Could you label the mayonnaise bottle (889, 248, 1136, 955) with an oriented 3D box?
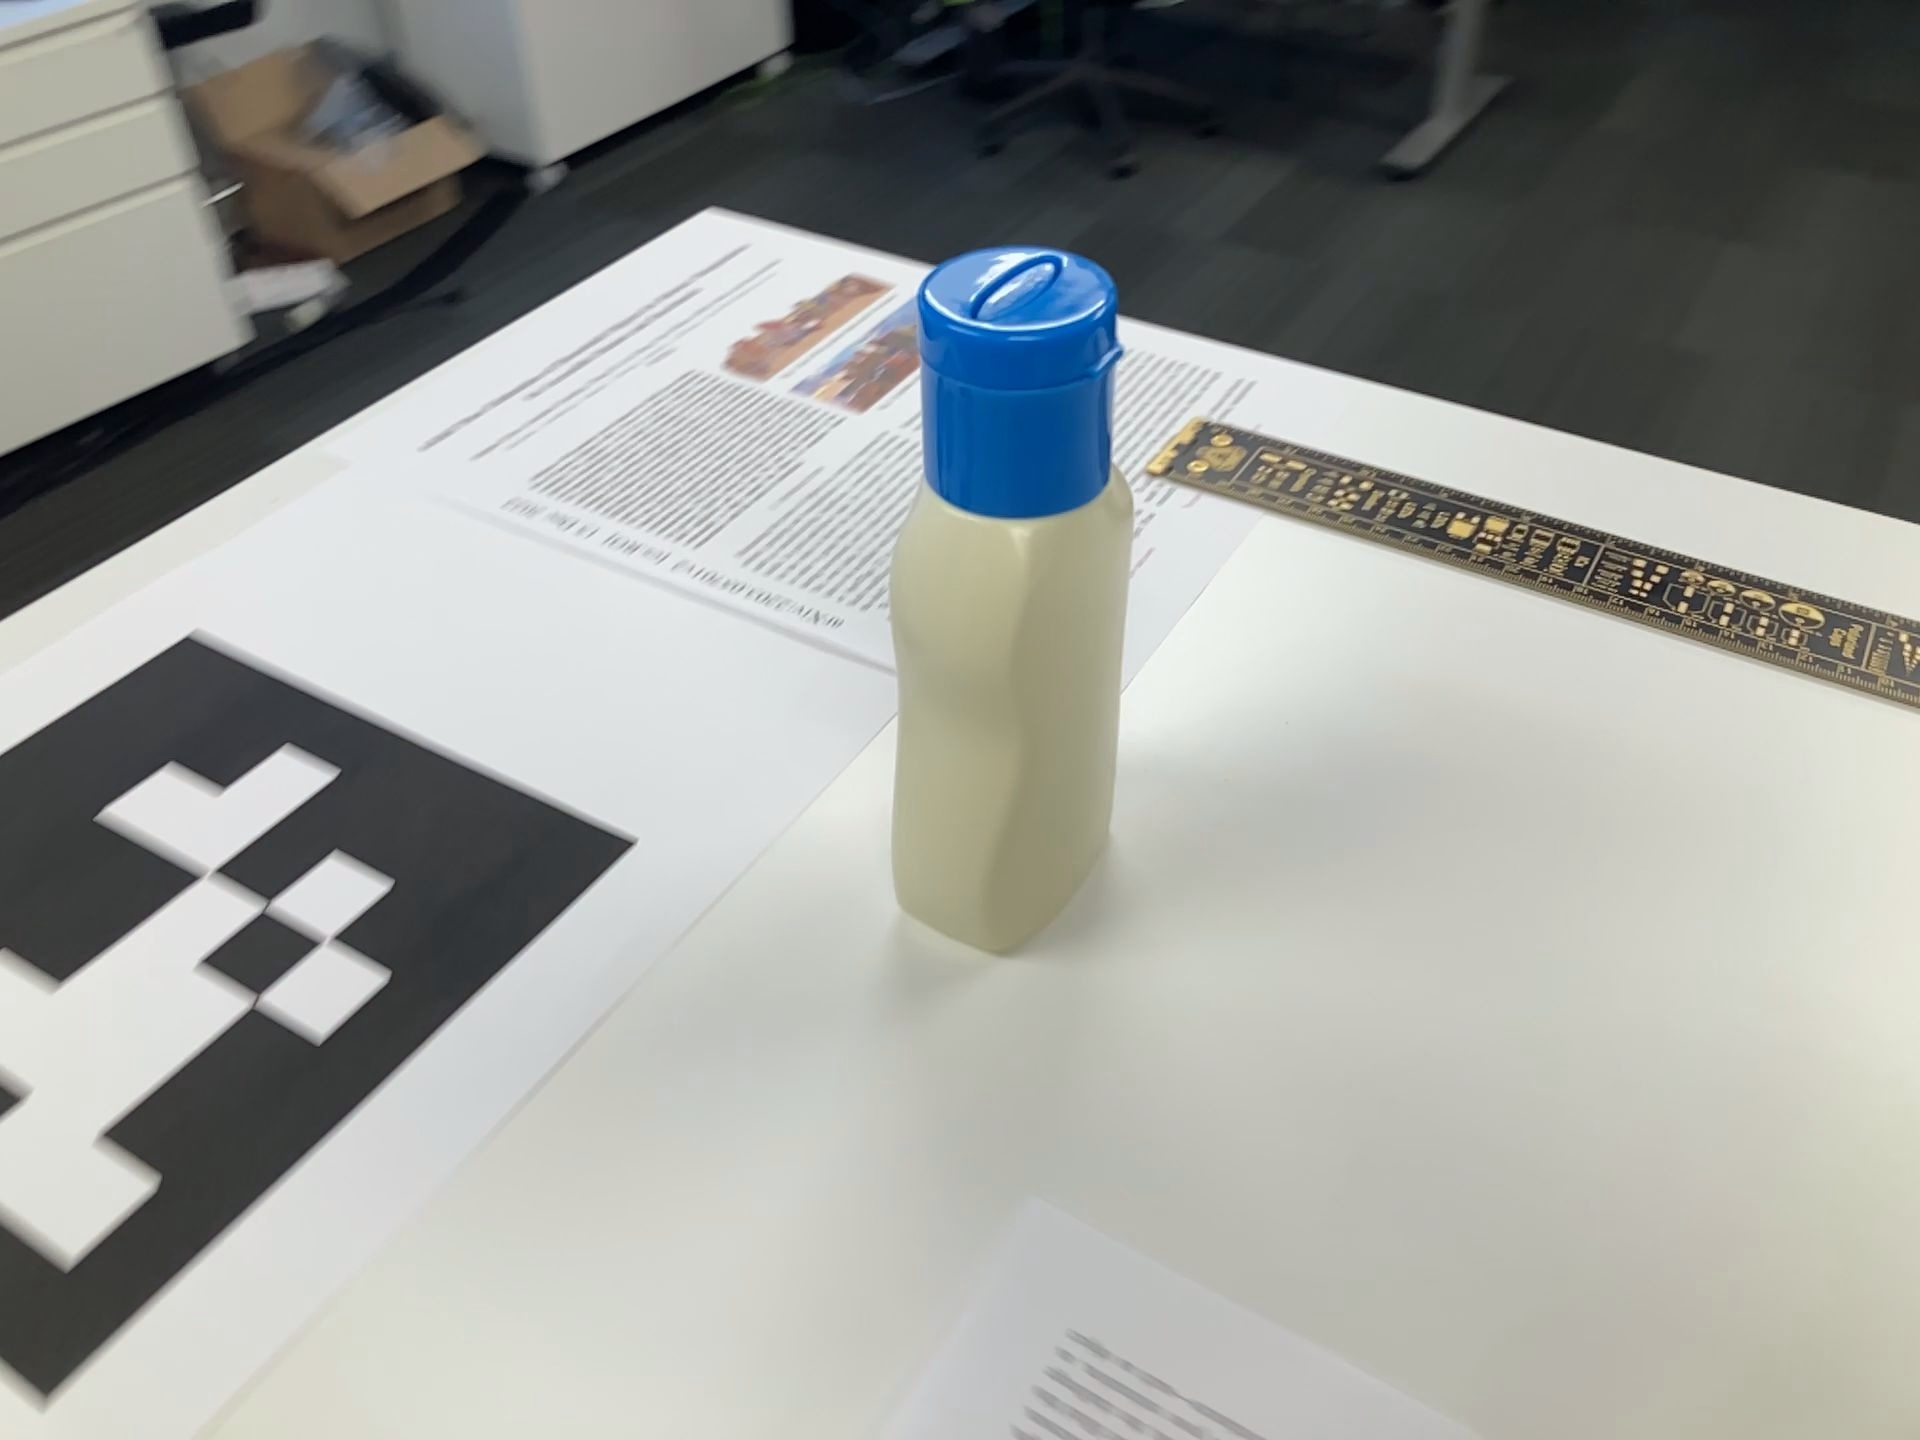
[{"bbox_3d":[0.011,-0.021,0.330,0.041,0.148,0.065,21,45,23],"label":"mayonnaise bottle"}]
